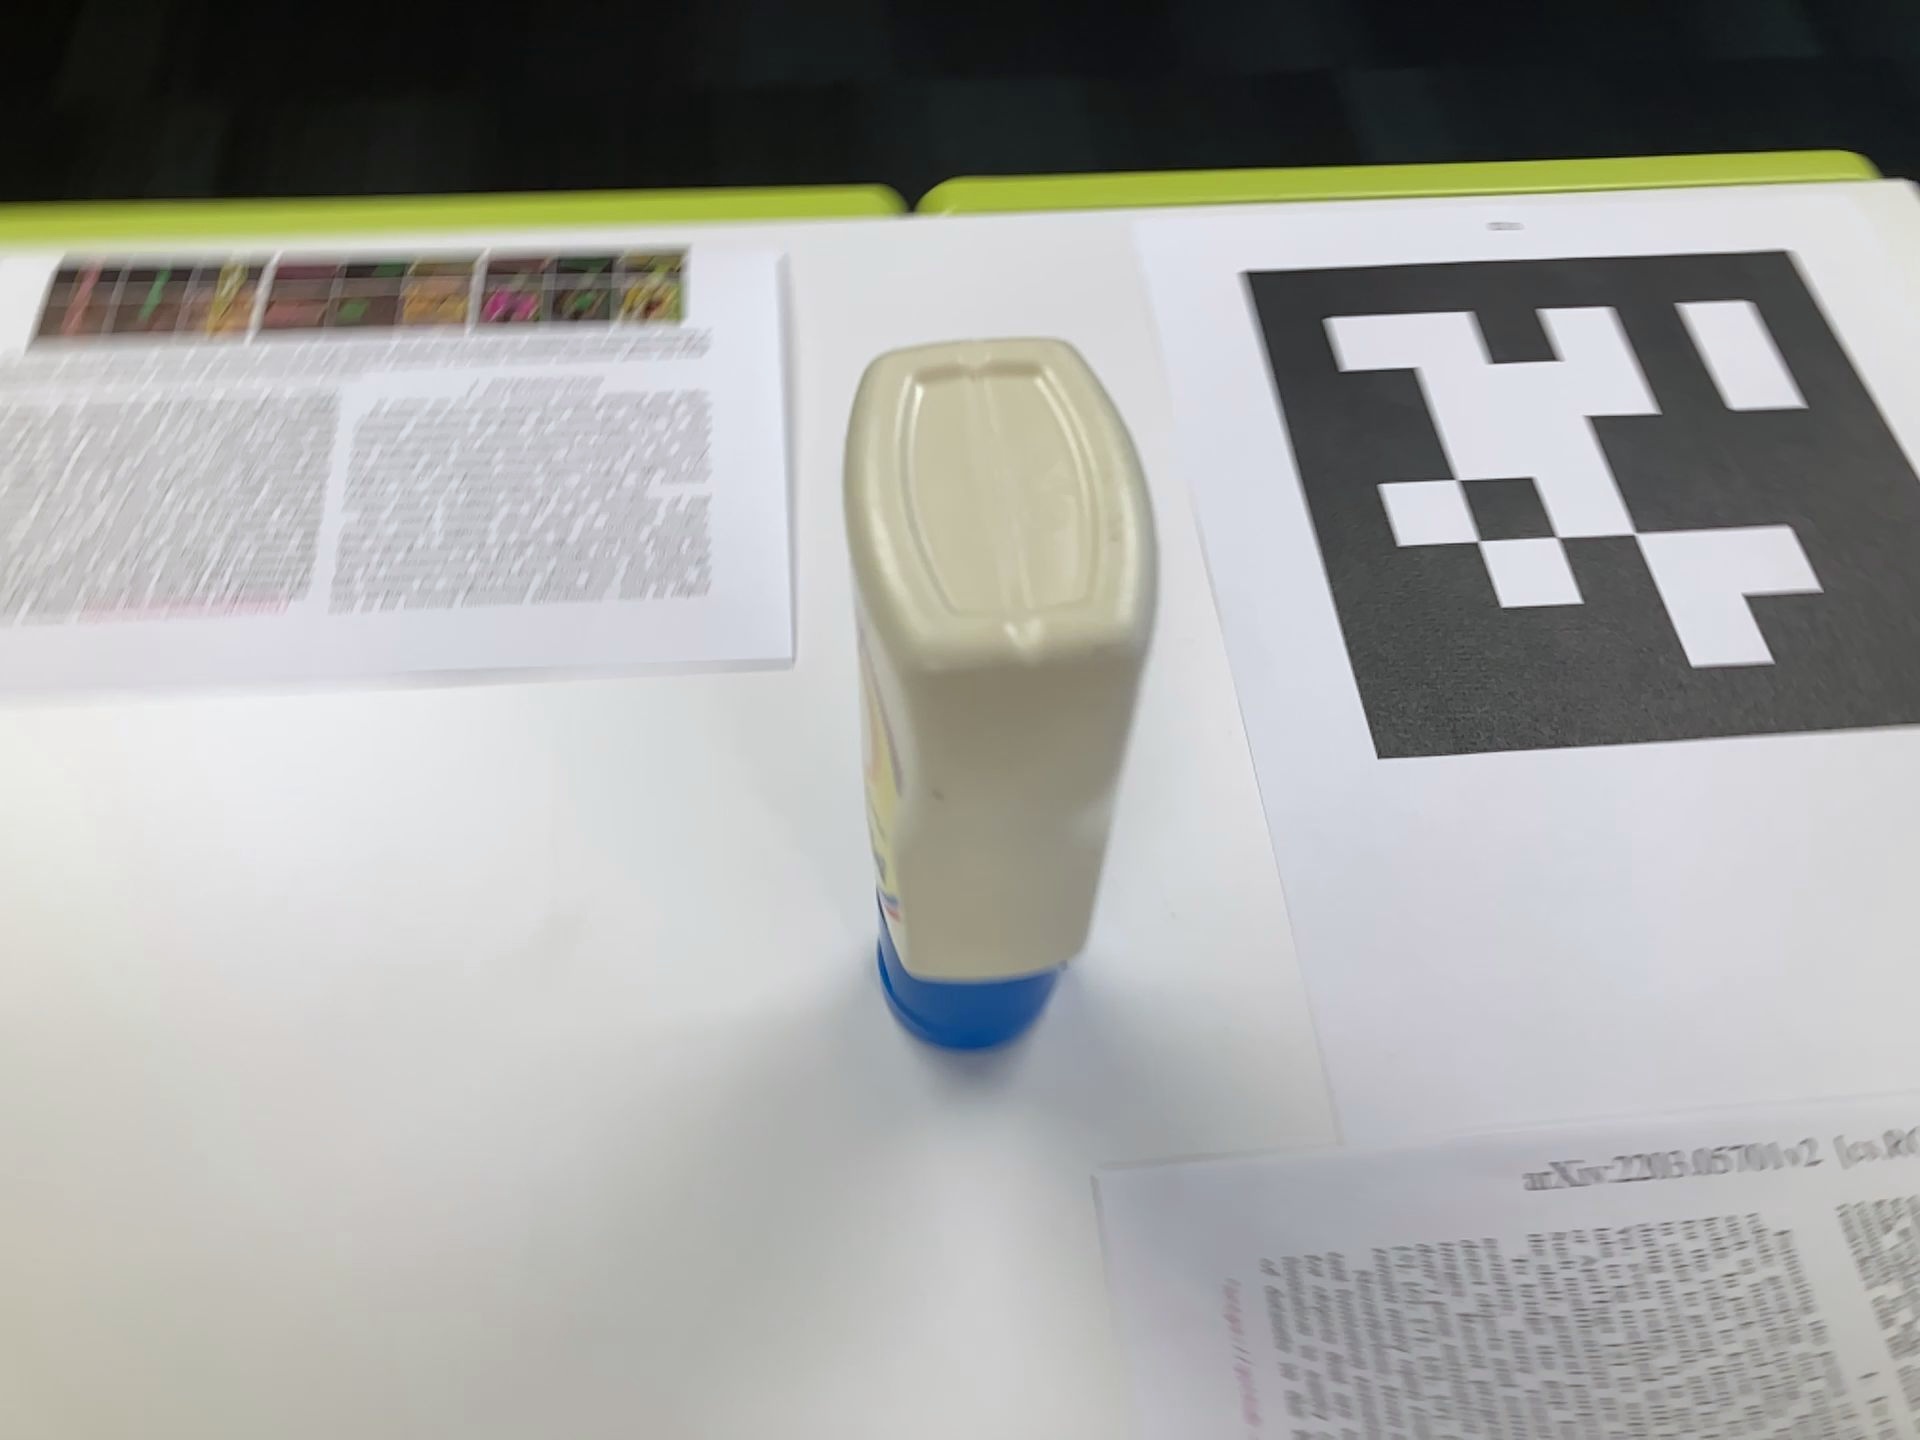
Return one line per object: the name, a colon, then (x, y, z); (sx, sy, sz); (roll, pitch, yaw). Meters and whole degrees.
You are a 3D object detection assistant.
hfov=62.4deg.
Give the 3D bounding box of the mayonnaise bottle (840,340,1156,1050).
mayonnaise bottle: (0.003, 0.011, 0.265); (0.041, 0.148, 0.065); (-5, 56, -5)
